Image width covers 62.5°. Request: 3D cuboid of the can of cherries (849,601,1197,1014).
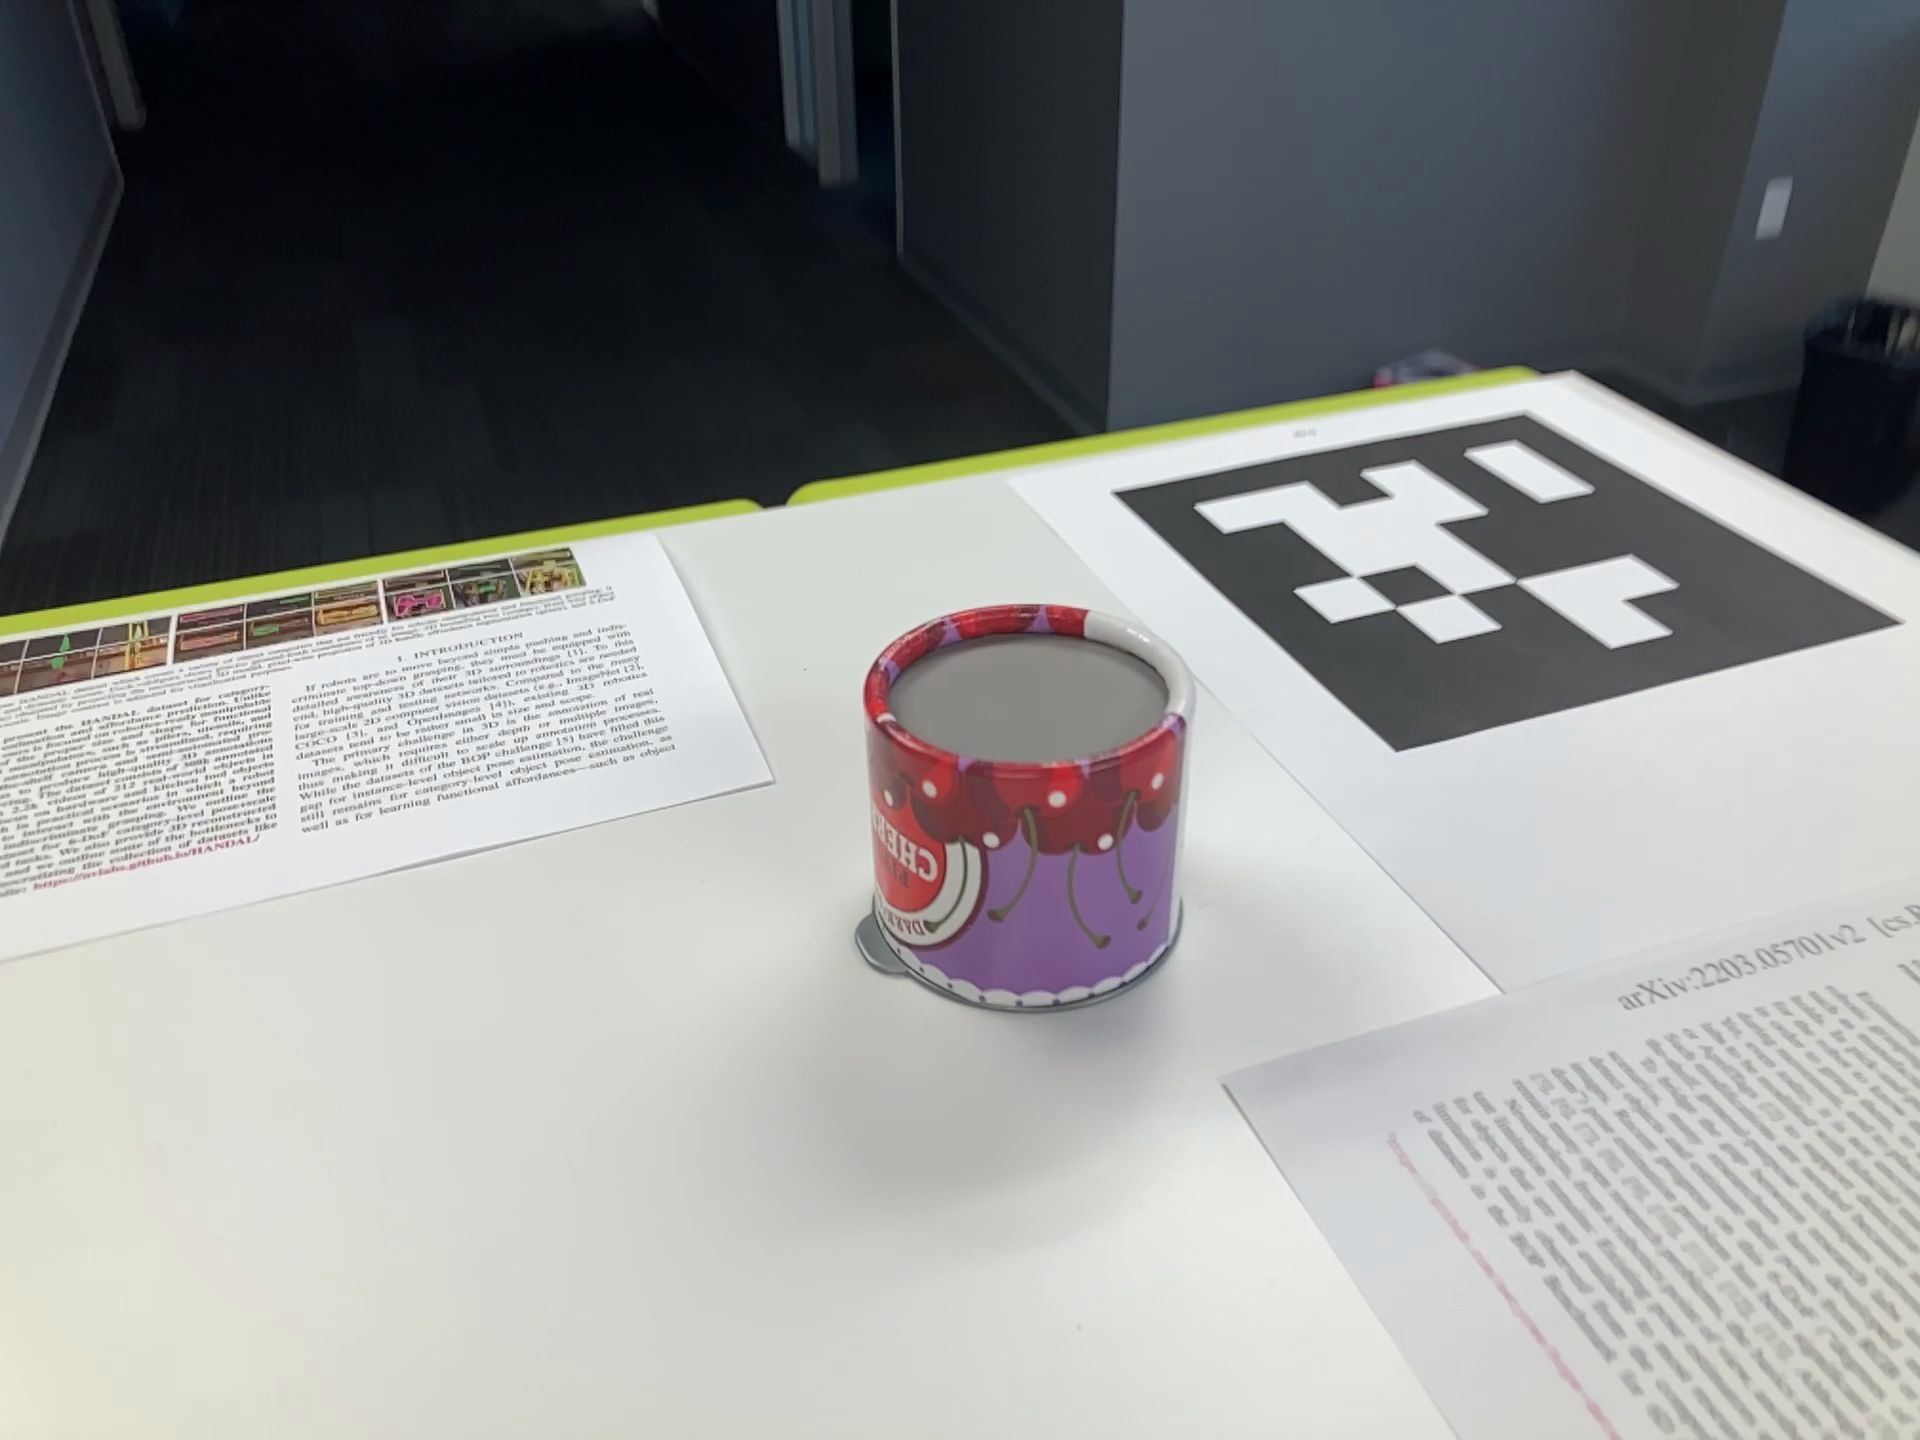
[{"bbox_3d":[0.011,0.016,0.321,0.071,0.058,0.071,-1,34,1],"label":"can of cherries"}]
